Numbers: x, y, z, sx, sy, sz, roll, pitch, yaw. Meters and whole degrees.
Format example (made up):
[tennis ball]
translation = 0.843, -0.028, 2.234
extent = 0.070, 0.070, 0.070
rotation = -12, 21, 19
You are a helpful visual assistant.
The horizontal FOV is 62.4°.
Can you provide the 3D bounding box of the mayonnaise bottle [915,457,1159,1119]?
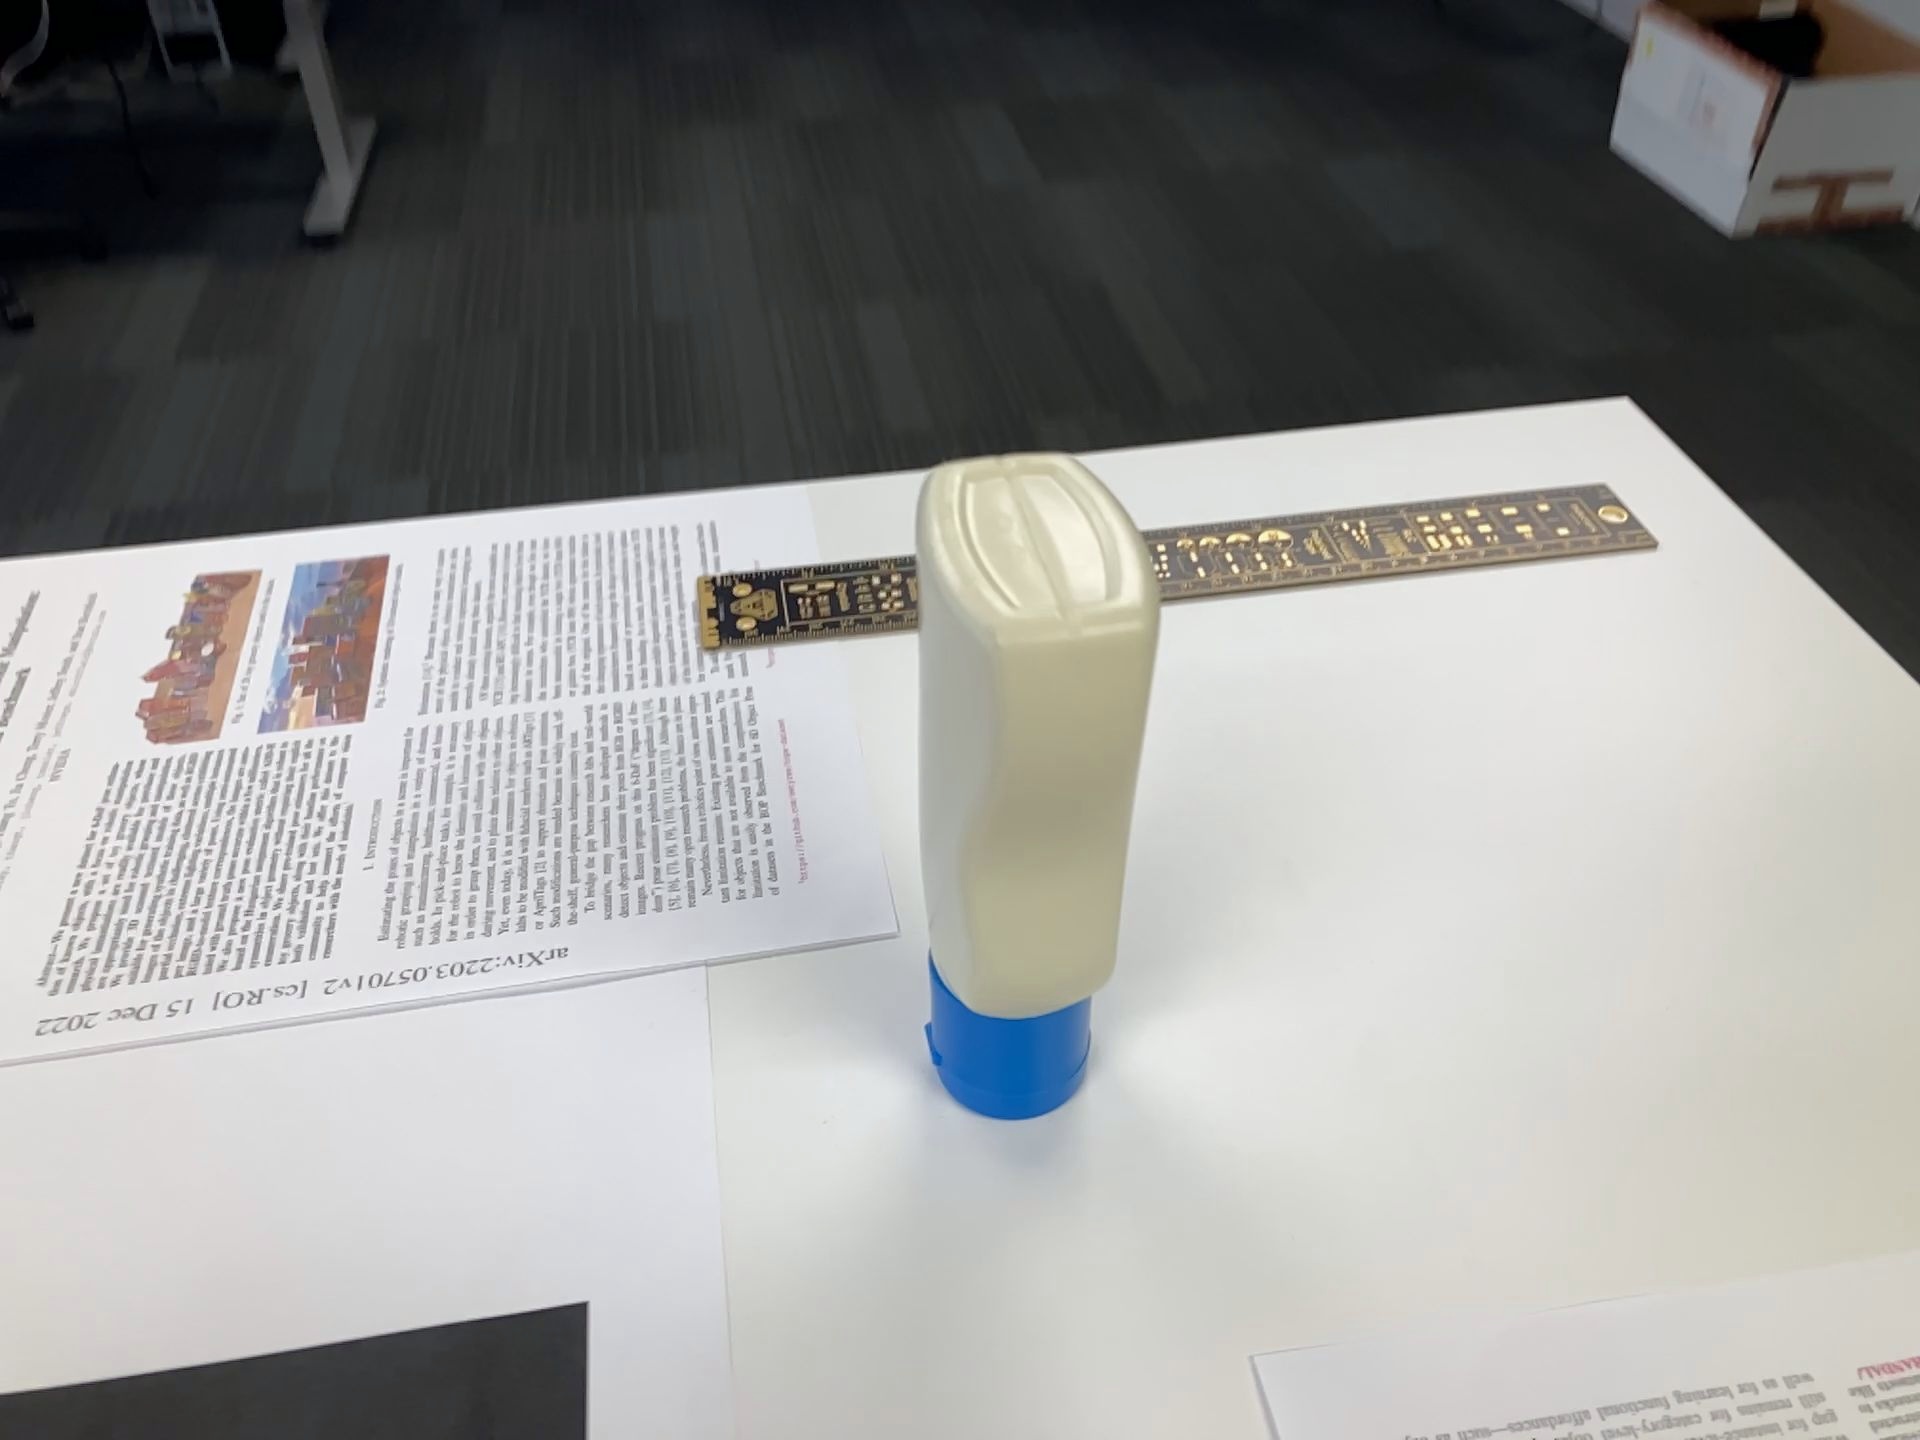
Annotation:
[mayonnaise bottle]
translation = 0.013, 0.023, 0.326
extent = 0.041, 0.148, 0.065
rotation = -7, 41, -8
